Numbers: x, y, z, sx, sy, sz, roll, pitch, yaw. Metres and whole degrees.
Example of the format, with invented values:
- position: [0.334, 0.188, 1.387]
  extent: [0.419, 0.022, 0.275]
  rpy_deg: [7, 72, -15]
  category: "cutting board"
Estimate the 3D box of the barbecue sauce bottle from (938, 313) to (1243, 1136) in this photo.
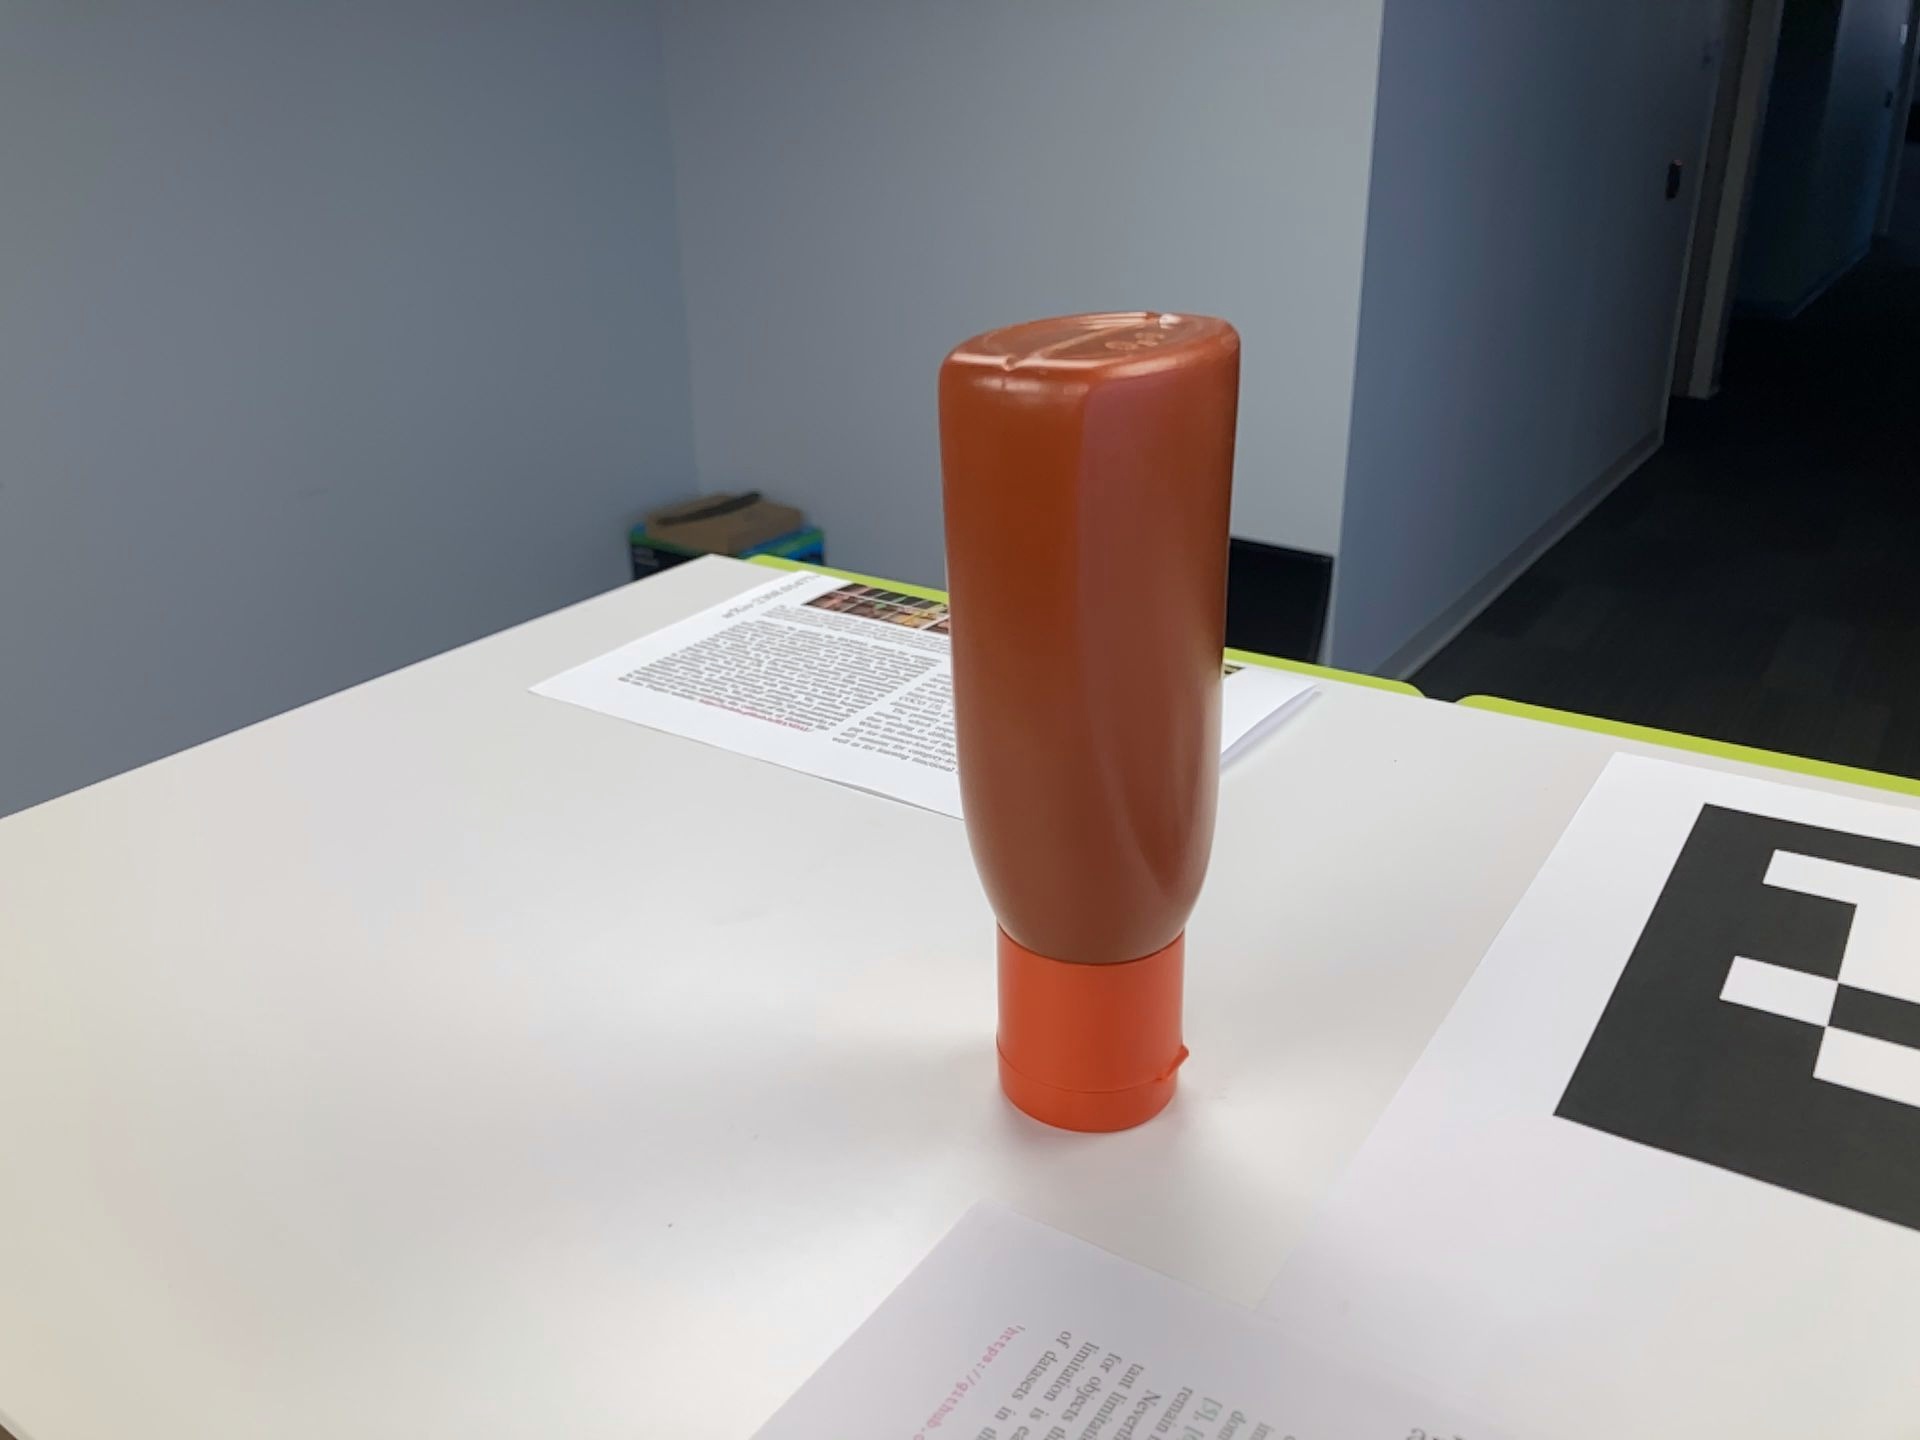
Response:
- position: [0.024, 0.004, 0.291]
  extent: [0.043, 0.148, 0.065]
  rpy_deg: [12, 25, 30]
  category: "barbecue sauce bottle"
